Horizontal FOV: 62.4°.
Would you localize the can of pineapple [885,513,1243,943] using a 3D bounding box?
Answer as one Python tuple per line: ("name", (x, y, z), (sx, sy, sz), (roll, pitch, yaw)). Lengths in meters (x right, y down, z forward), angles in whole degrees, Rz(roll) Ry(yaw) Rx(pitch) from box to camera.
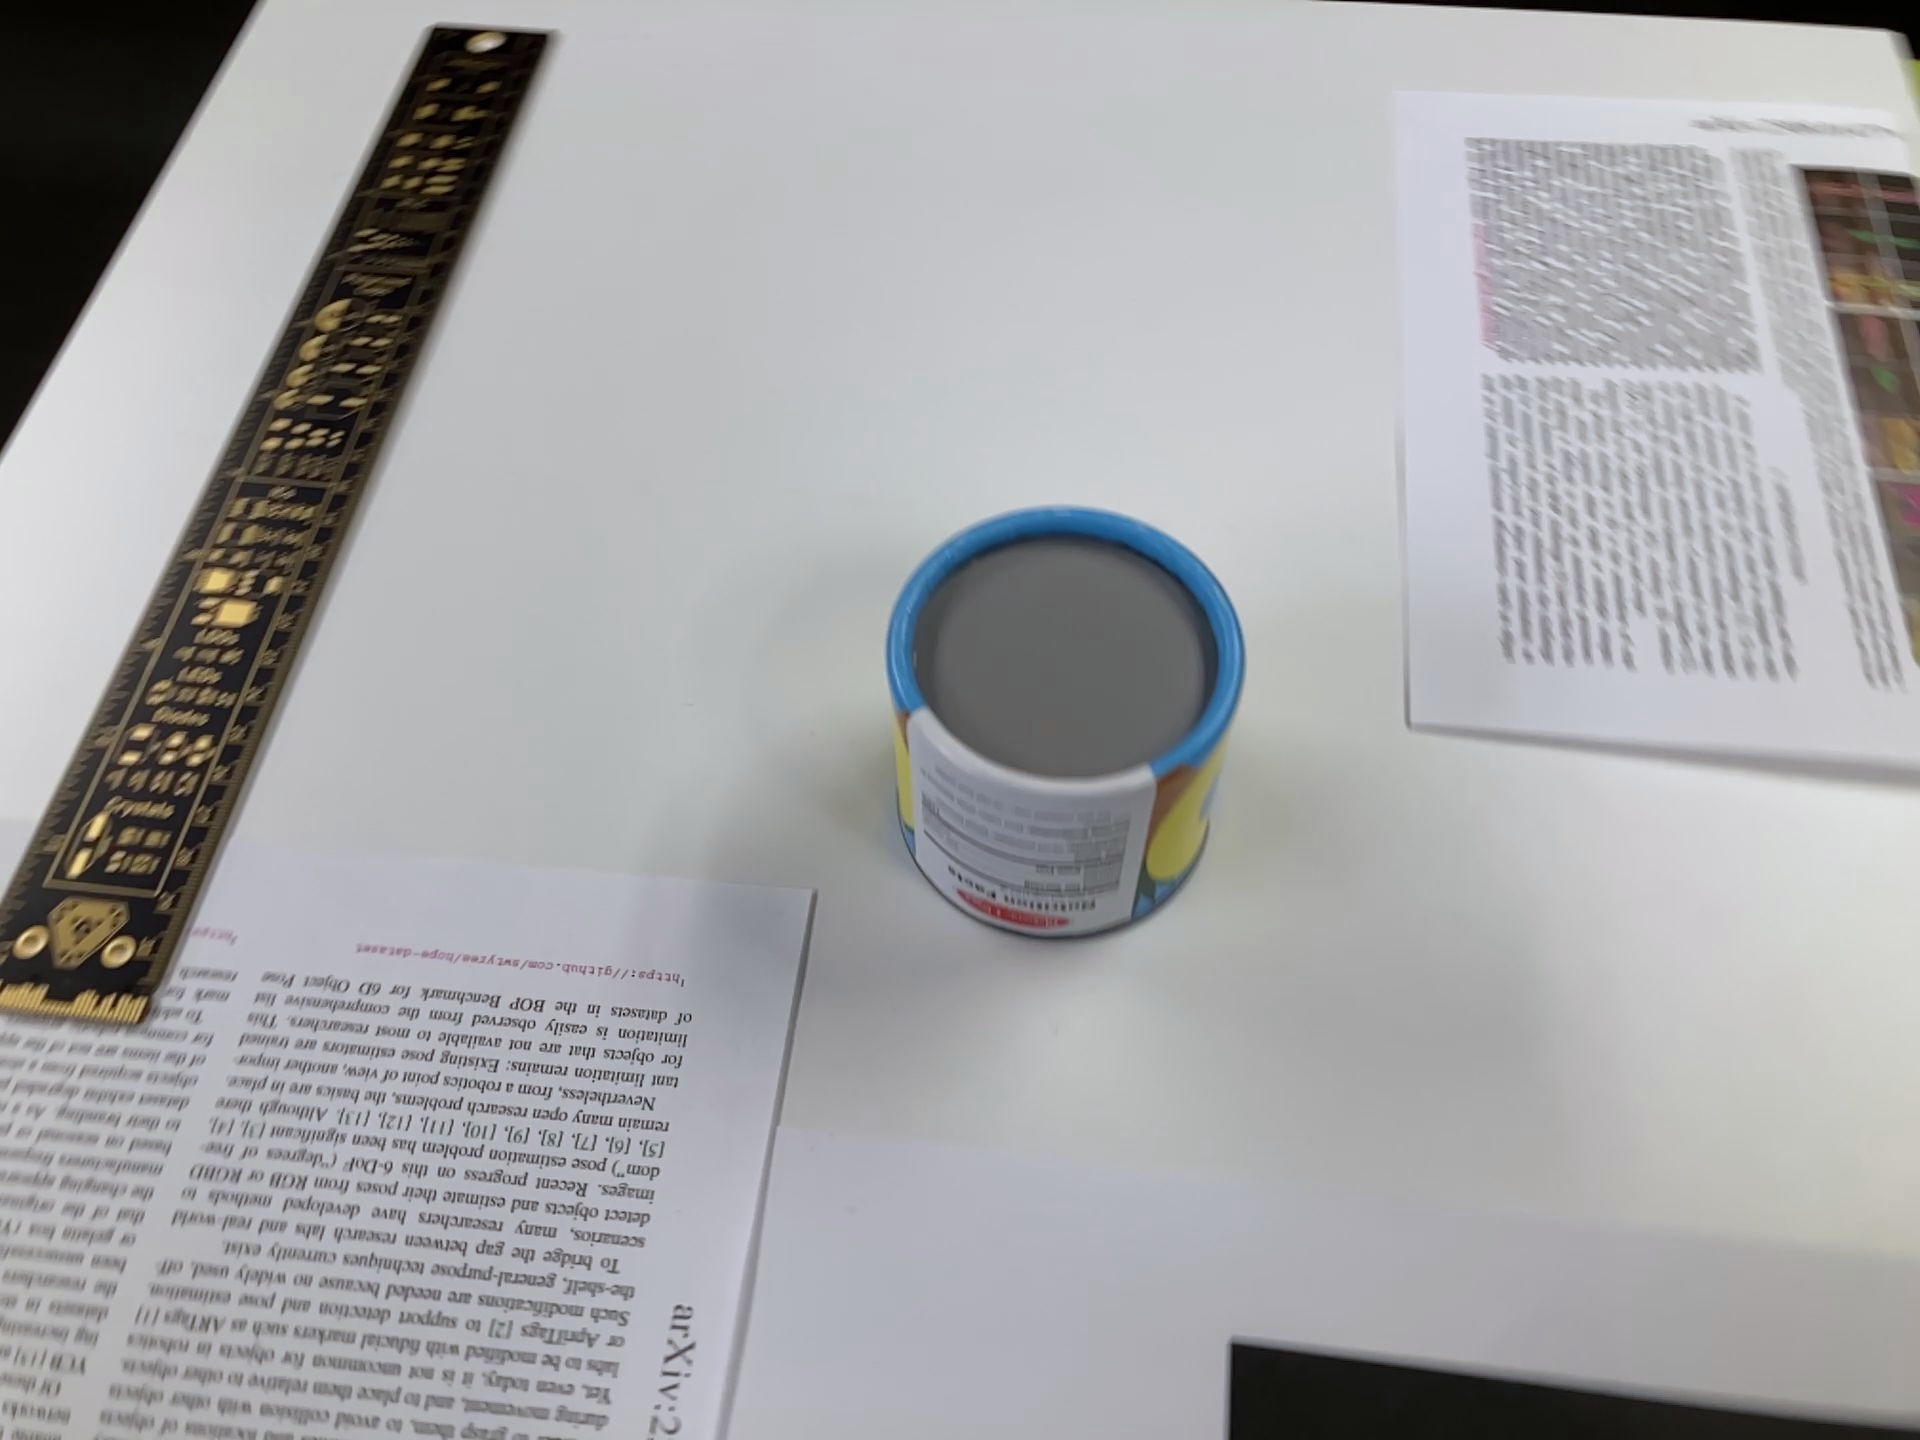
("can of pineapple", (0.020, 0.000, 0.313), (0.071, 0.058, 0.071), (0, 58, 0))
